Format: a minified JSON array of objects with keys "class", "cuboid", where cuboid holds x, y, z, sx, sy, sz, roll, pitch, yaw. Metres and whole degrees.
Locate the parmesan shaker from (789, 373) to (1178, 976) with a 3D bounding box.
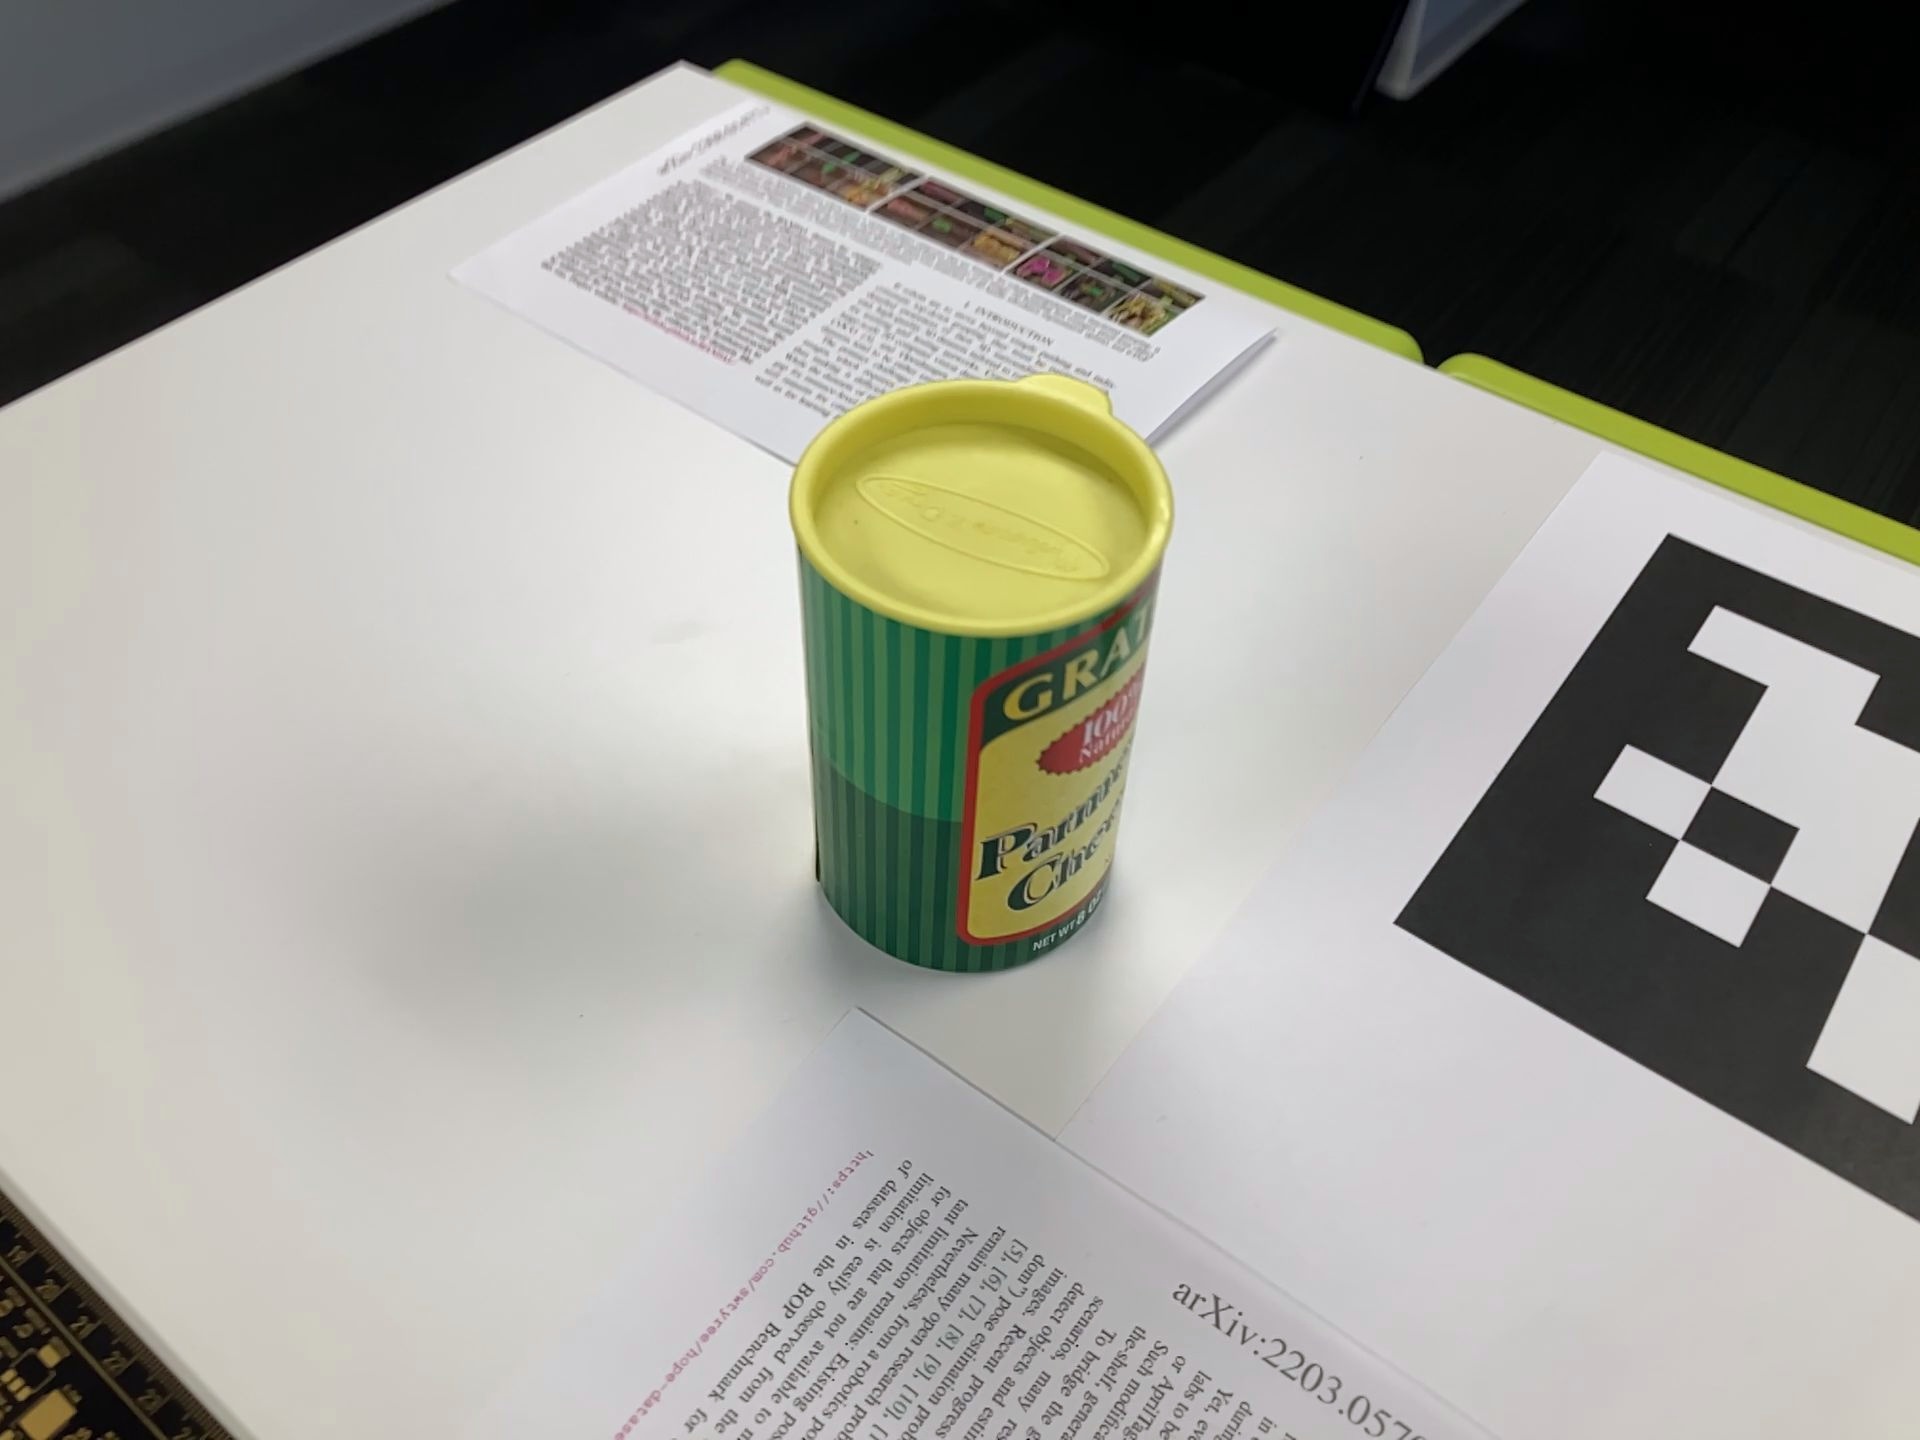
[{"class":"parmesan shaker","cuboid":[0.005,-0.006,0.310,0.071,0.103,0.071,1,48,-1]}]
